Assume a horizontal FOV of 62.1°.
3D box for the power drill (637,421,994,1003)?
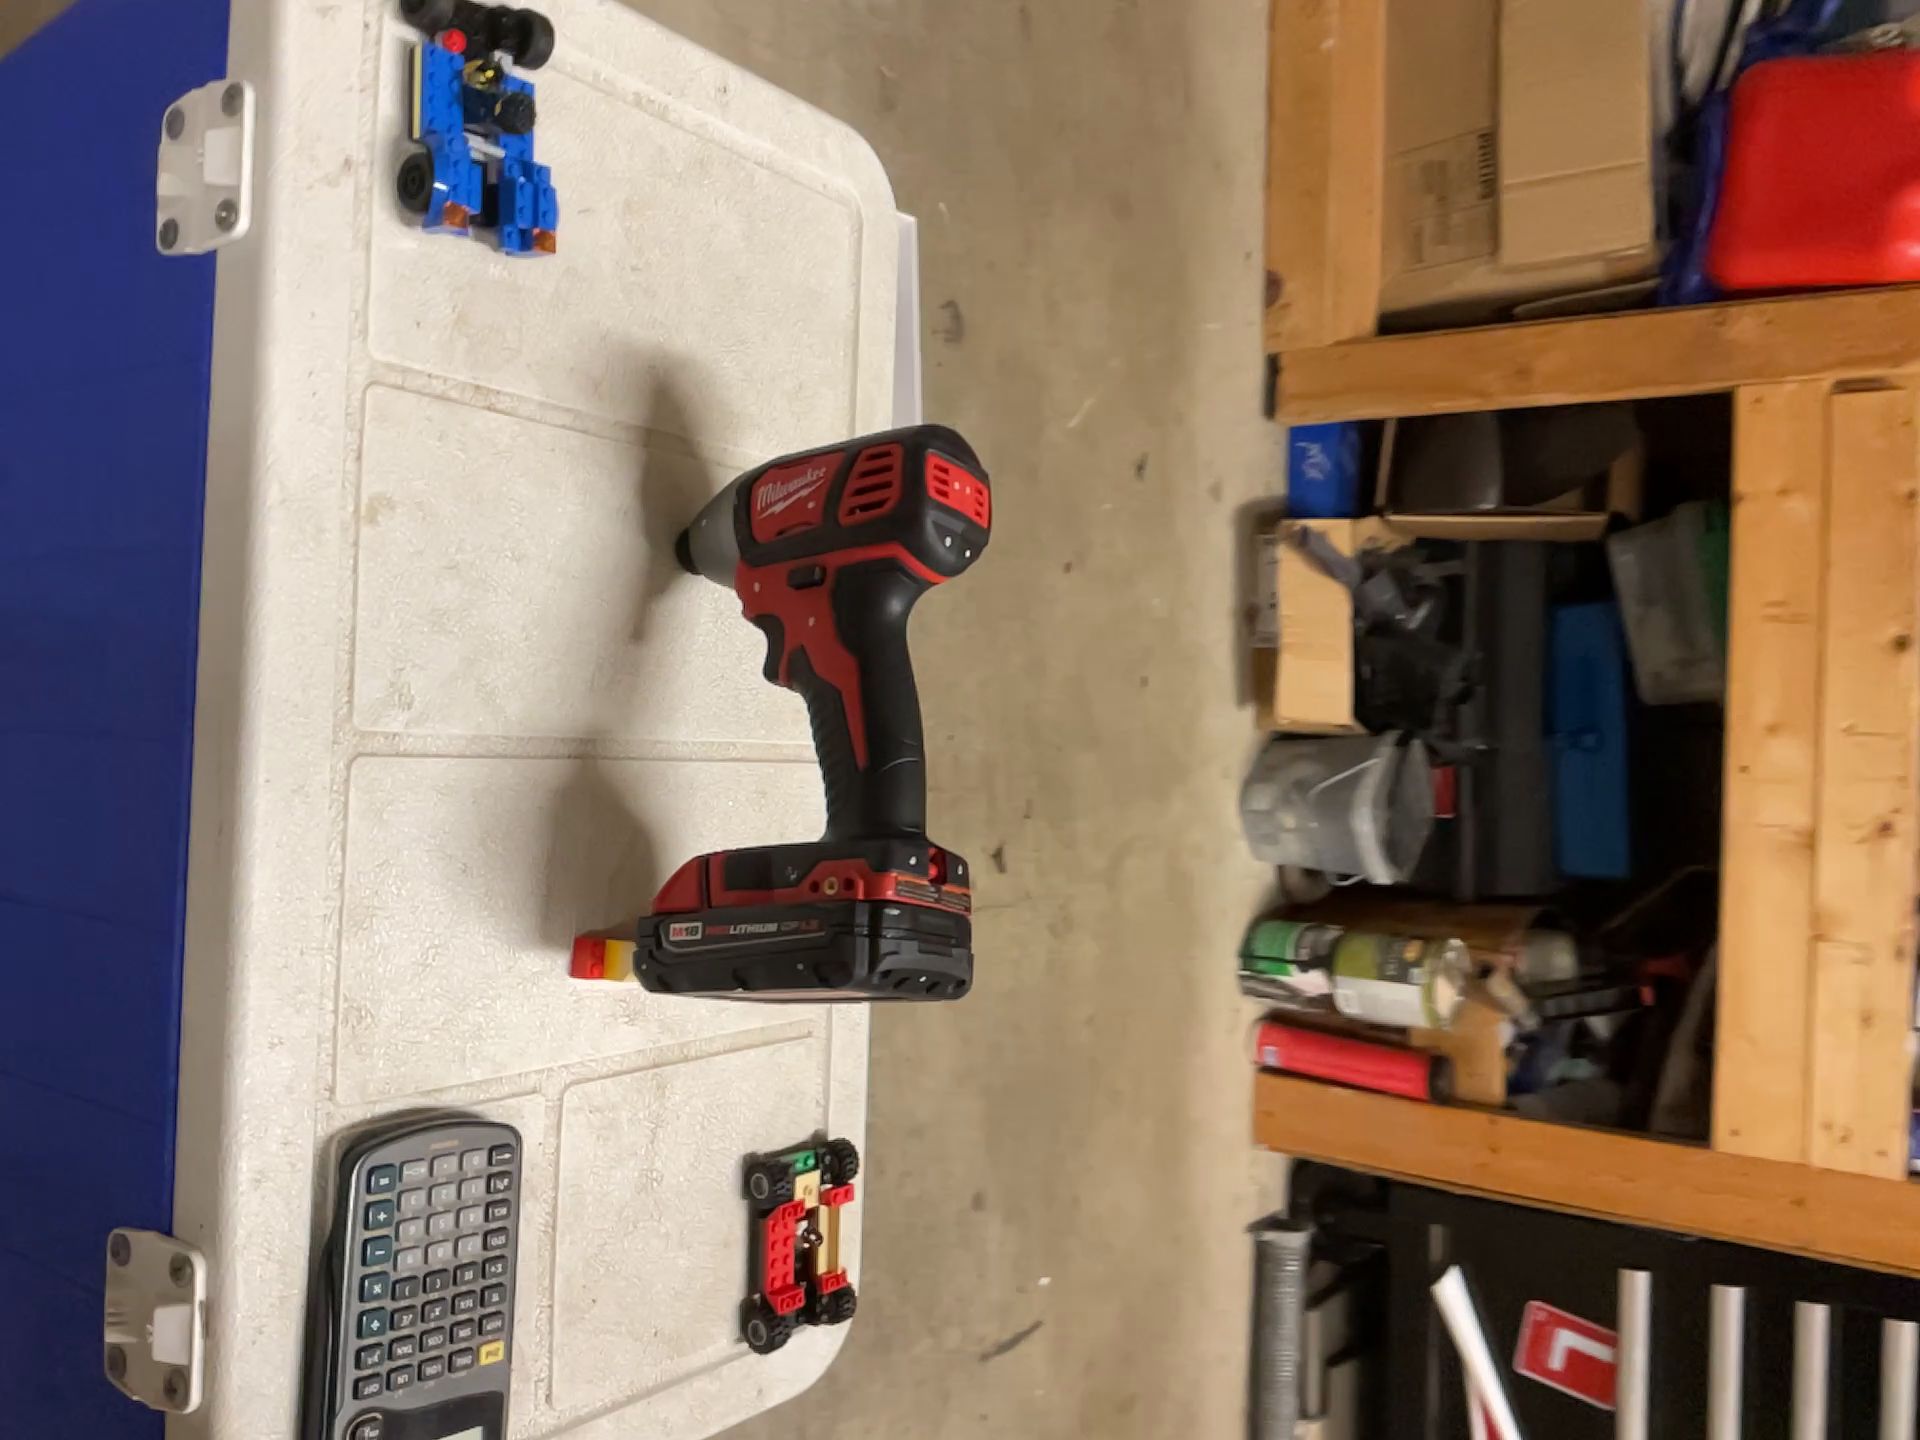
[{"bbox_3d":[-0.060,-0.002,0.627,0.078,0.143,0.220,21,67,-55],"label":"power drill"}]
